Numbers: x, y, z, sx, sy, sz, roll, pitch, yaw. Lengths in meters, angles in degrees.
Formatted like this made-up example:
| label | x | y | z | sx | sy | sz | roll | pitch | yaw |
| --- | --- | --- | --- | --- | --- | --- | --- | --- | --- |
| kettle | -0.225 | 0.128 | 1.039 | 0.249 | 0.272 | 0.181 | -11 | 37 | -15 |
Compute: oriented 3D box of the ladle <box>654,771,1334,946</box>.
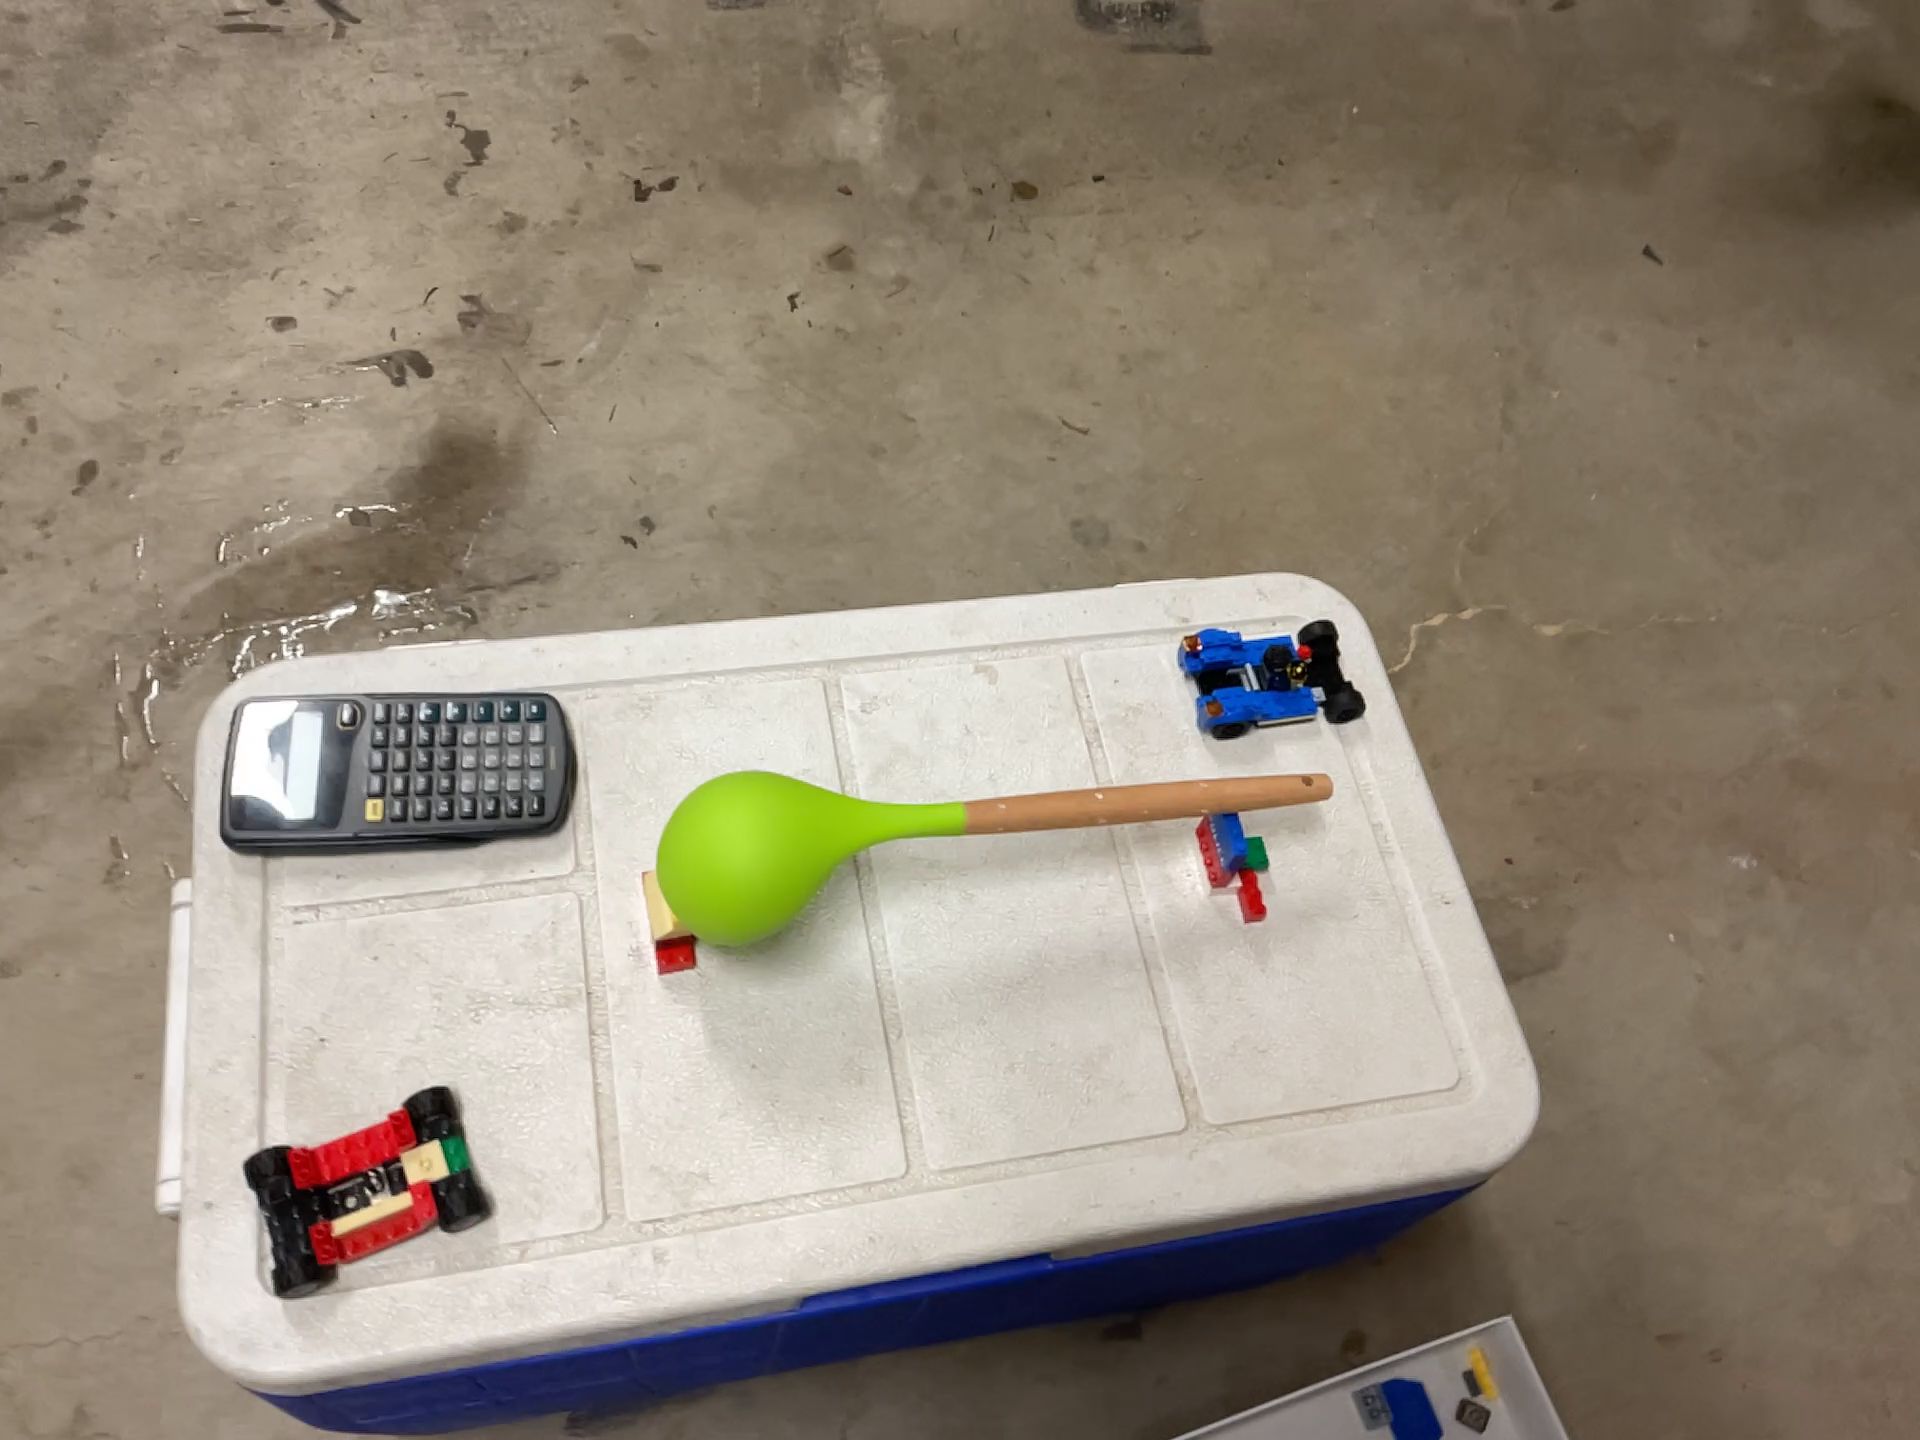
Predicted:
| label | x | y | z | sx | sy | sz | roll | pitch | yaw |
| --- | --- | --- | --- | --- | --- | --- | --- | --- | --- |
| ladle | 0.022 | 0.050 | 0.728 | 0.320 | 0.062 | 0.078 | -4 | 55 | -18 |
